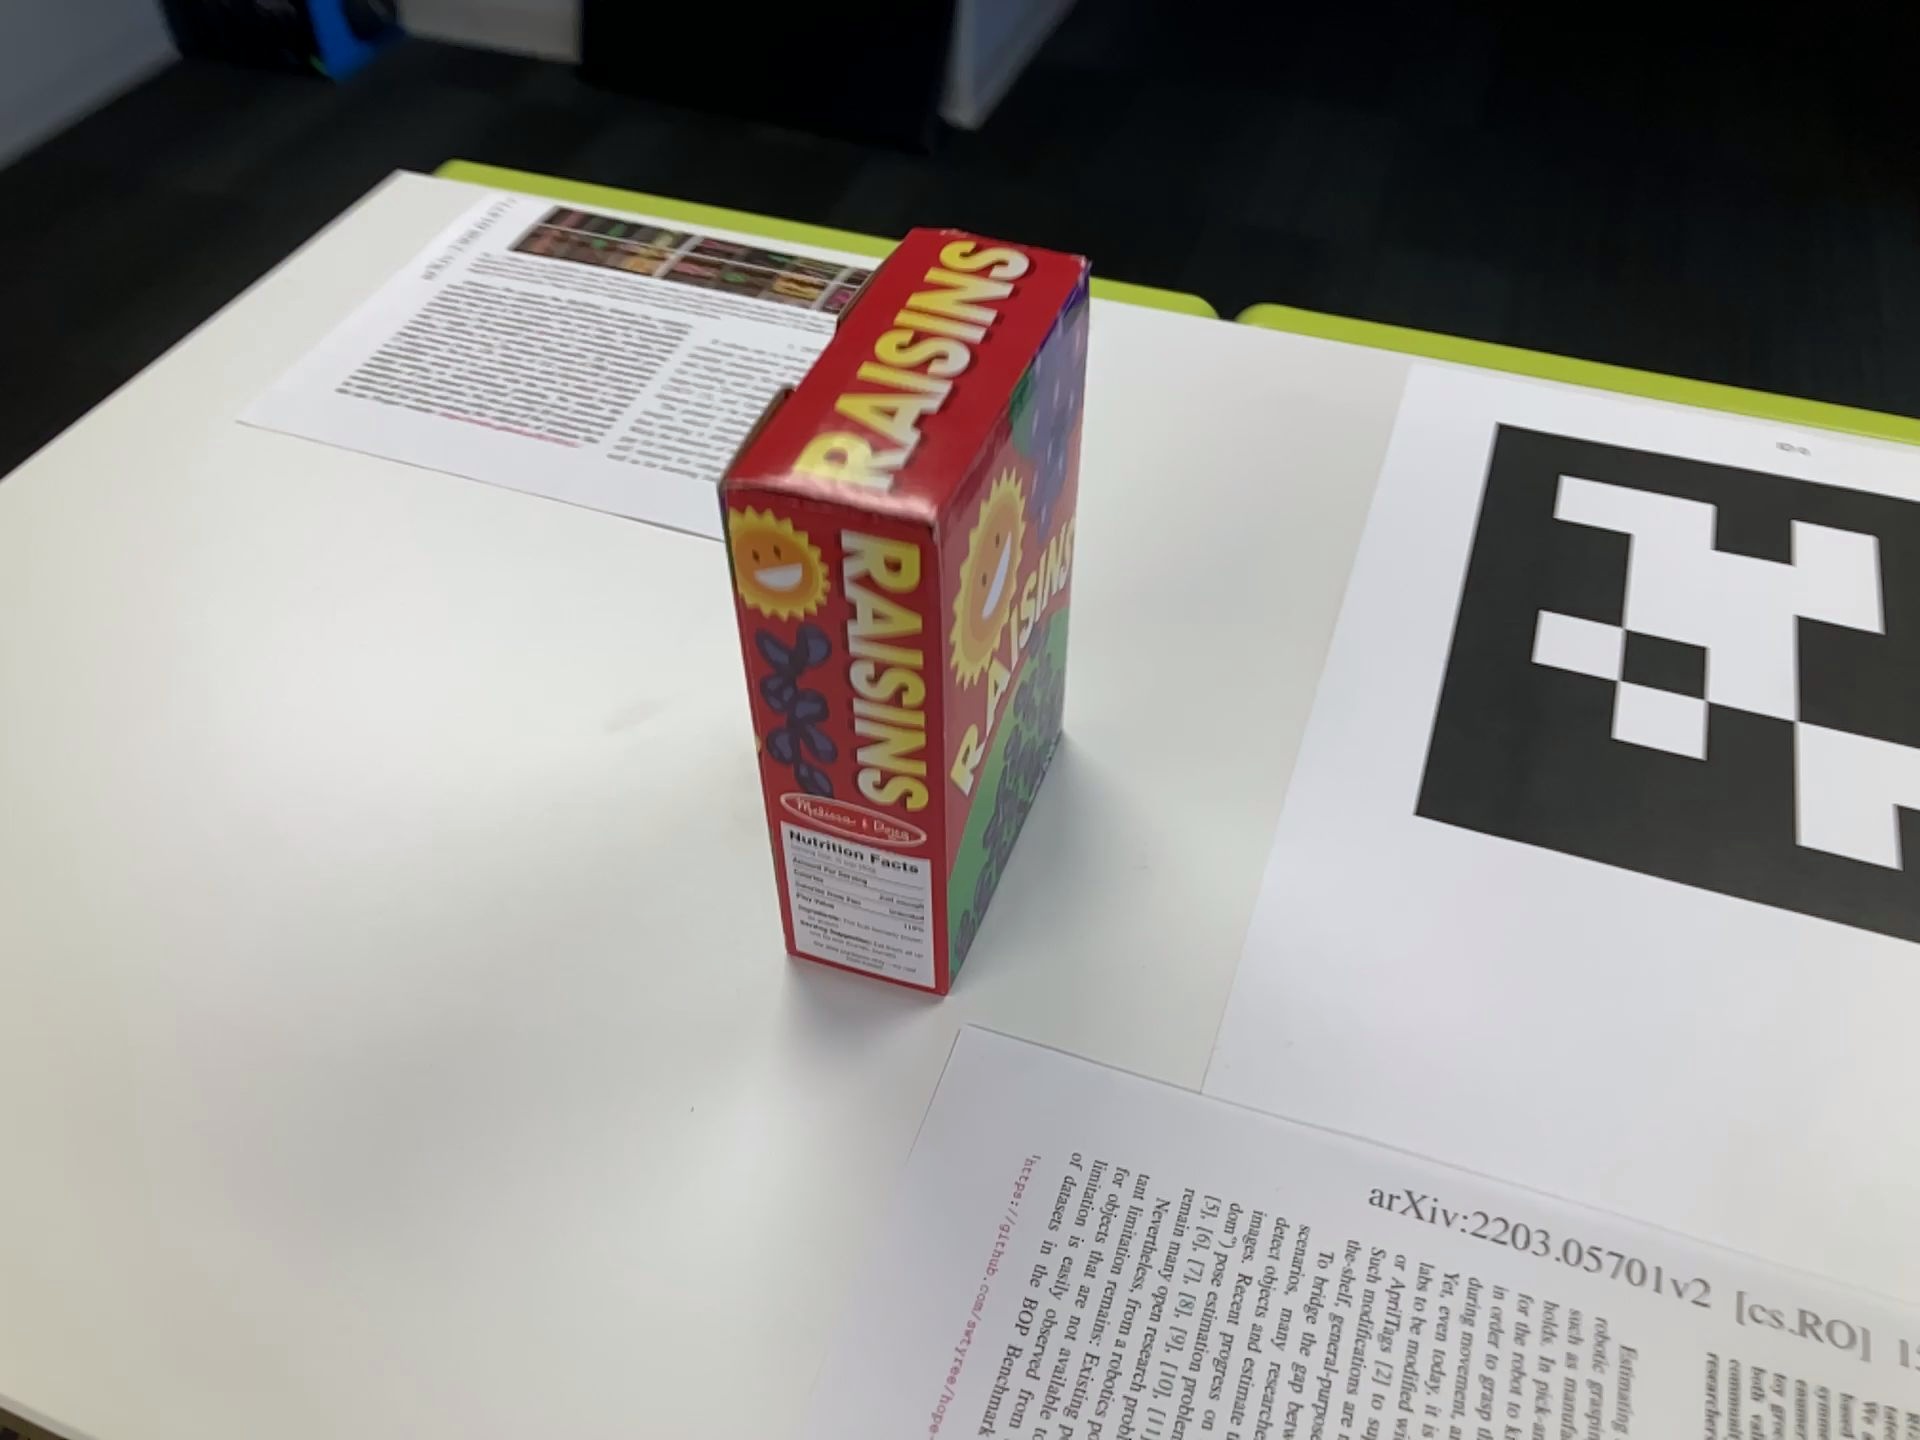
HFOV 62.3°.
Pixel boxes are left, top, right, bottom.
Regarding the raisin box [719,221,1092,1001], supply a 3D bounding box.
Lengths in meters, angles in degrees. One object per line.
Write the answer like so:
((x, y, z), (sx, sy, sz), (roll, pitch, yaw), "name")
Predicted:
((-0.006, -0.018, 0.309), (0.040, 0.123, 0.086), (14, 47, 14), "raisin box")
